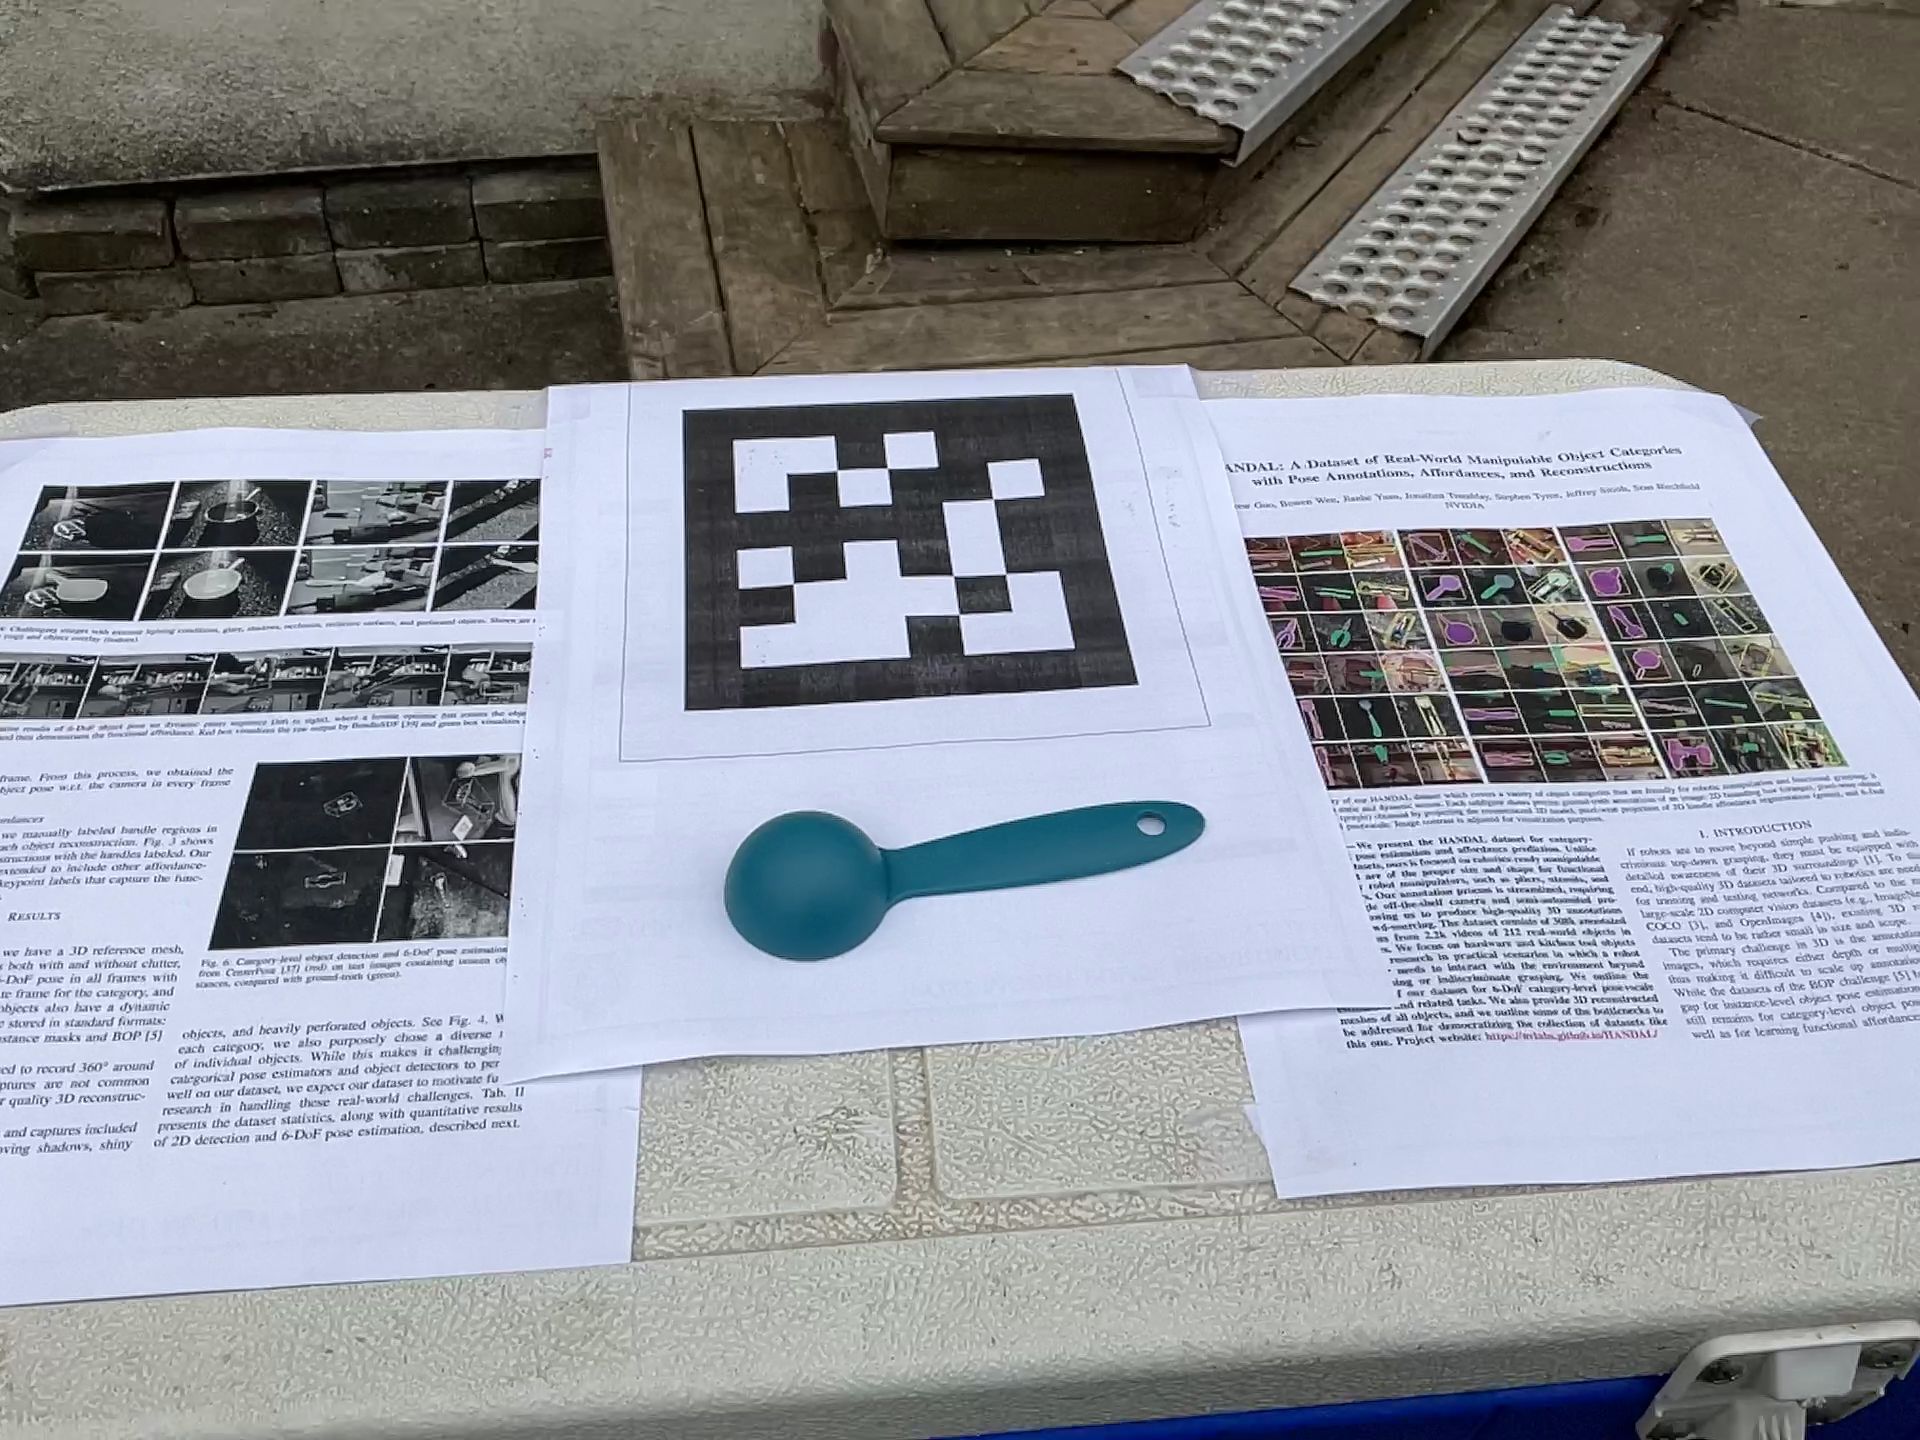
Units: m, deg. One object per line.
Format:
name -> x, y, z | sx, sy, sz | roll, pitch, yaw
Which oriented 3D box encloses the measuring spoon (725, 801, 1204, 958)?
measuring spoon -> 0.003, 0.031, 0.413 | 0.128, 0.021, 0.042 | -9, 45, -11
